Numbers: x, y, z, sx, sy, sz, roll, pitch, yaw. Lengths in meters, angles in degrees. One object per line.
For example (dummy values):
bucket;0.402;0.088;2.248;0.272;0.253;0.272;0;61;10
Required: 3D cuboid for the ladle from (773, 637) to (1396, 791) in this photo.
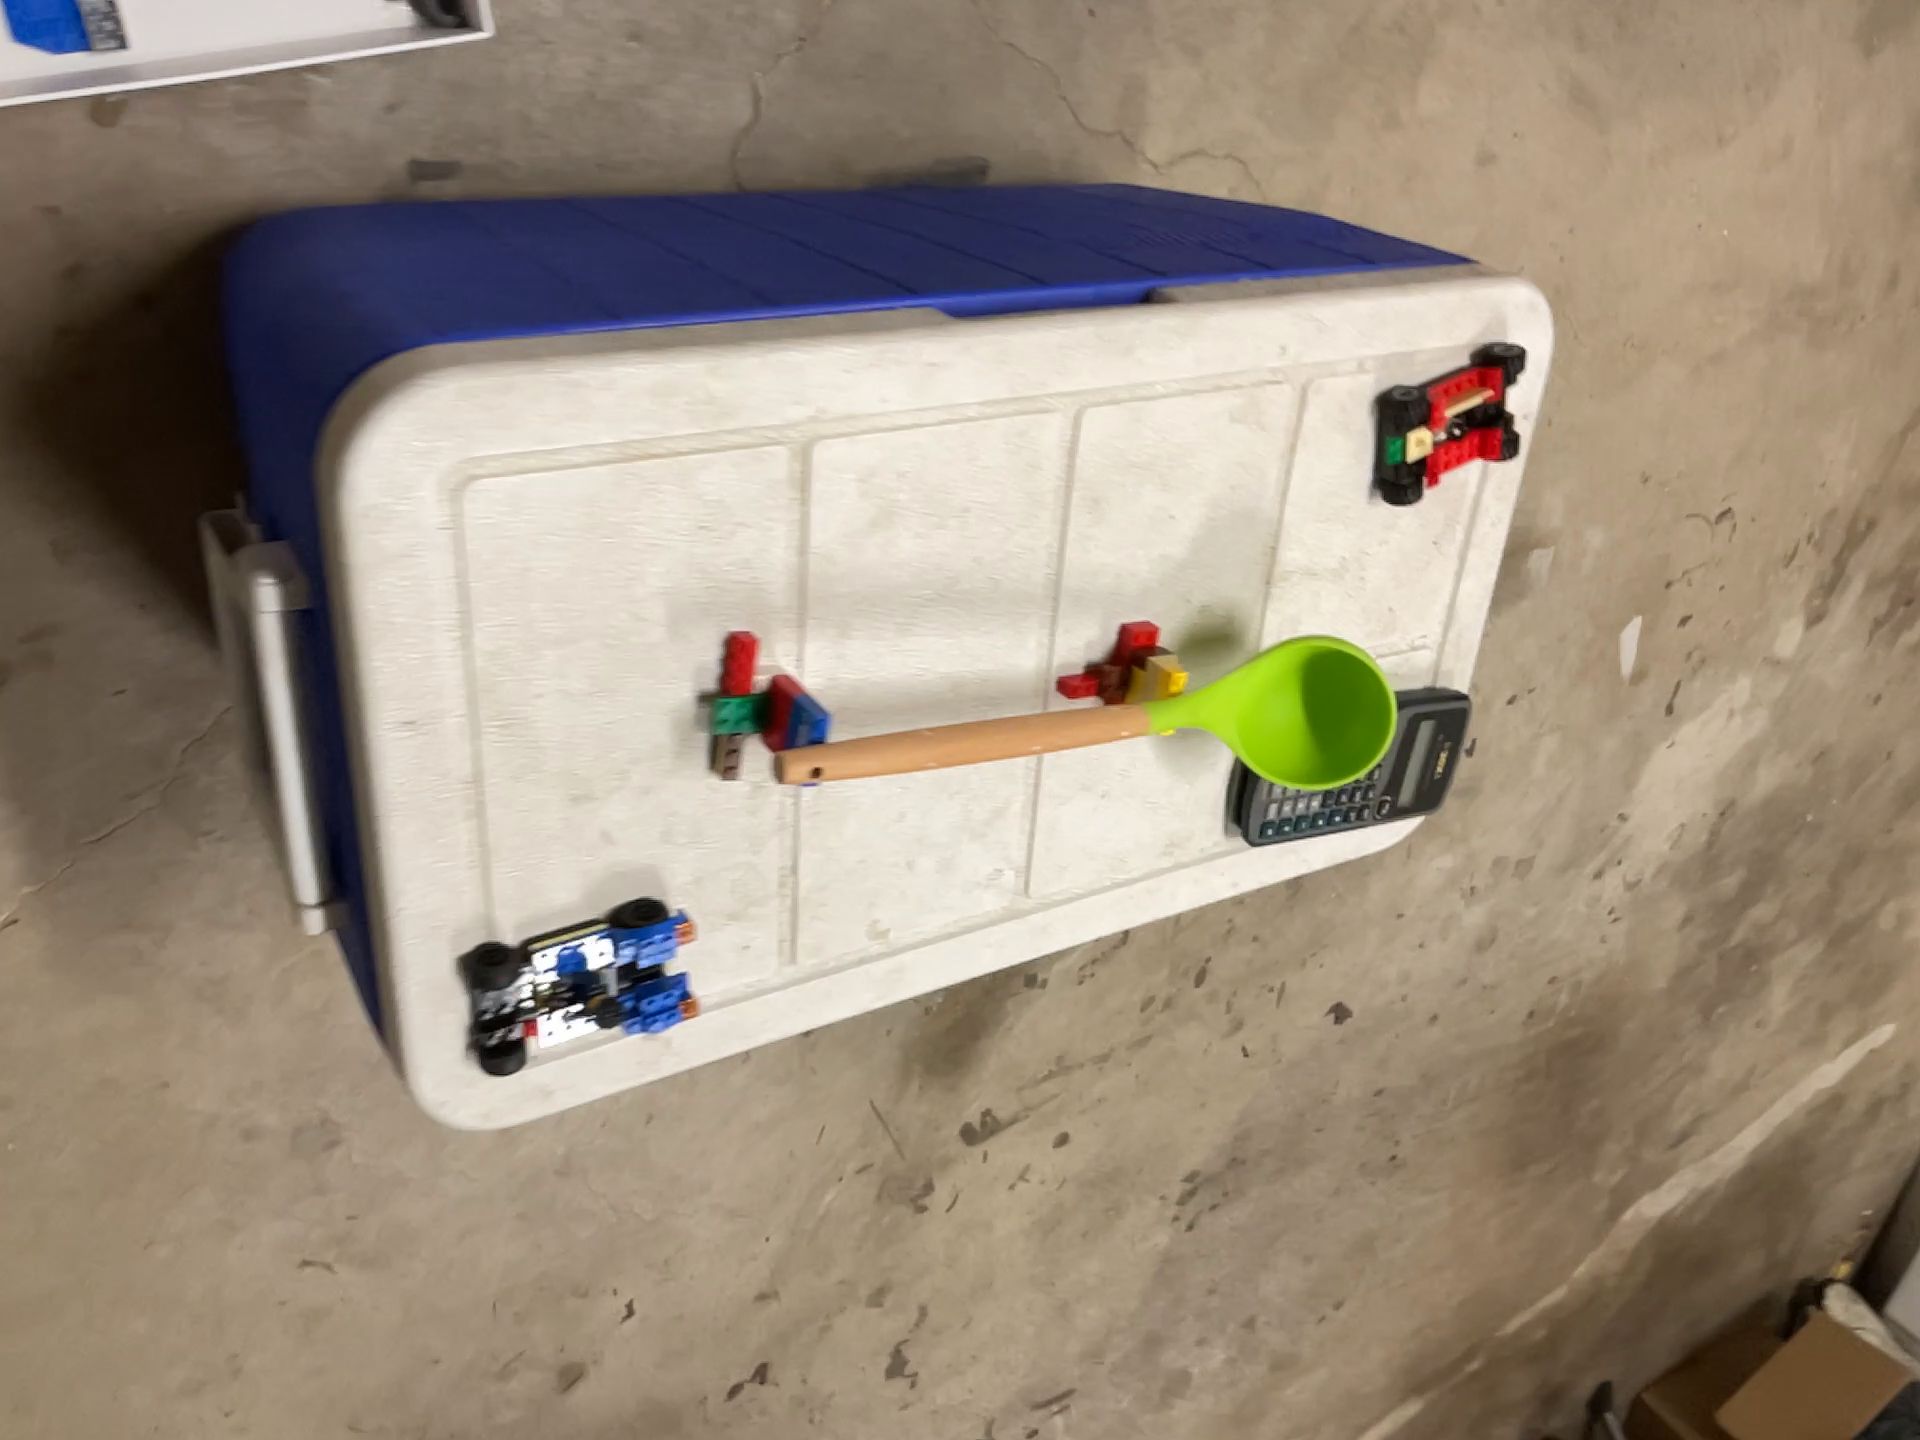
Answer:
ladle;0.067;0.008;0.701;0.320;0.062;0.078;-7;120;-34
